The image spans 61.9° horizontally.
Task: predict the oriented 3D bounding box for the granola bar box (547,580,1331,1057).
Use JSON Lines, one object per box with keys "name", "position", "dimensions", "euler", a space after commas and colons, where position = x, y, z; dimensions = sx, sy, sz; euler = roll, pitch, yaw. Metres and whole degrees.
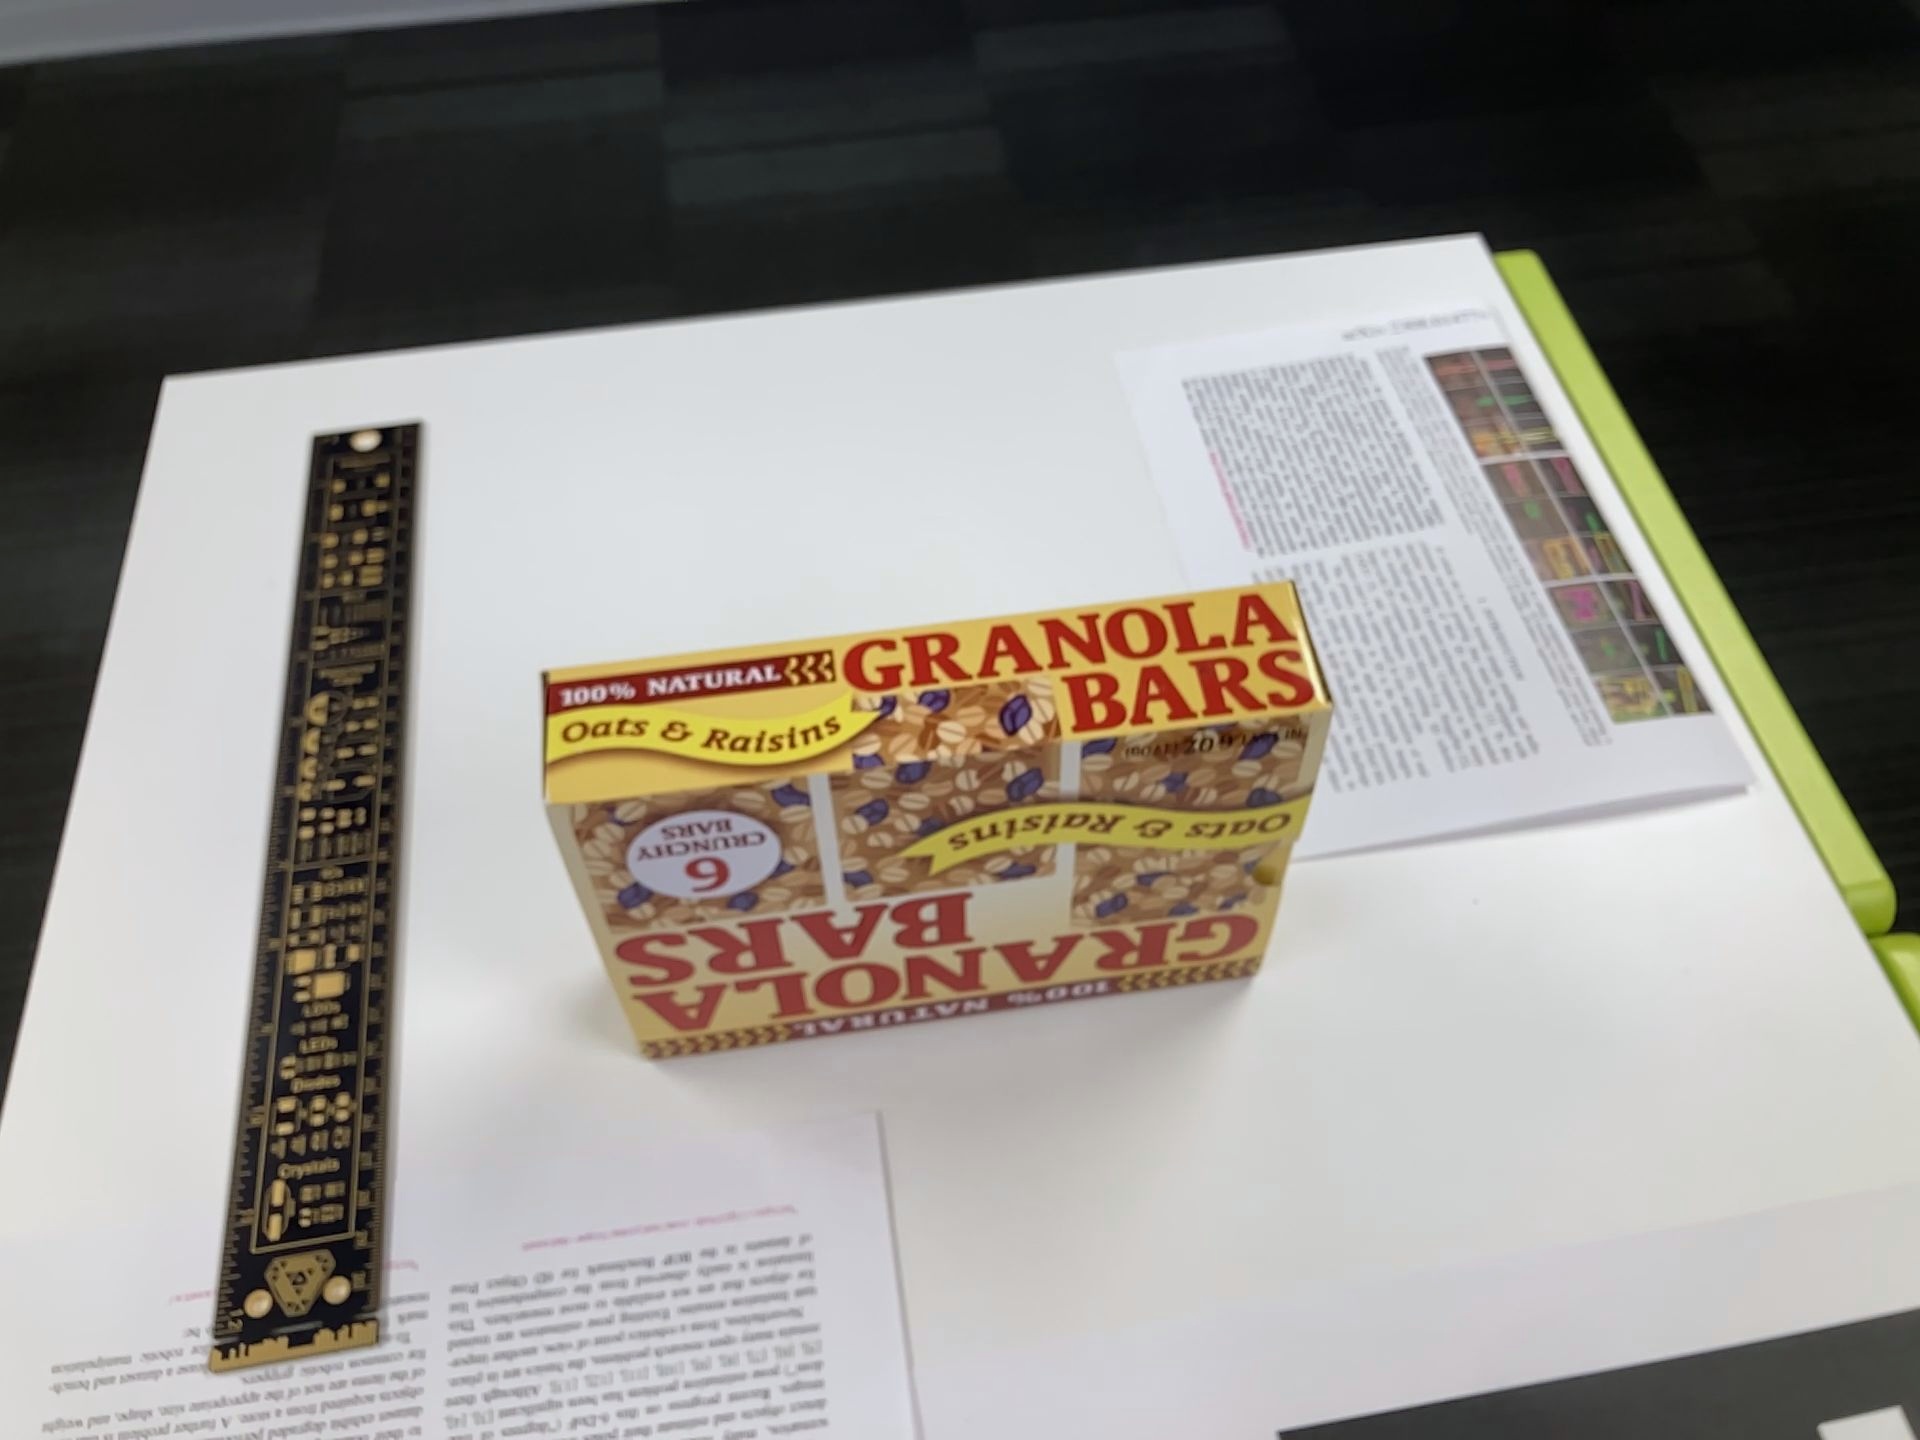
{"name": "granola bar box", "position": [-0.004, 0.029, 0.388], "dimensions": [0.165, 0.124, 0.039], "euler": [-7, 54, -4]}
